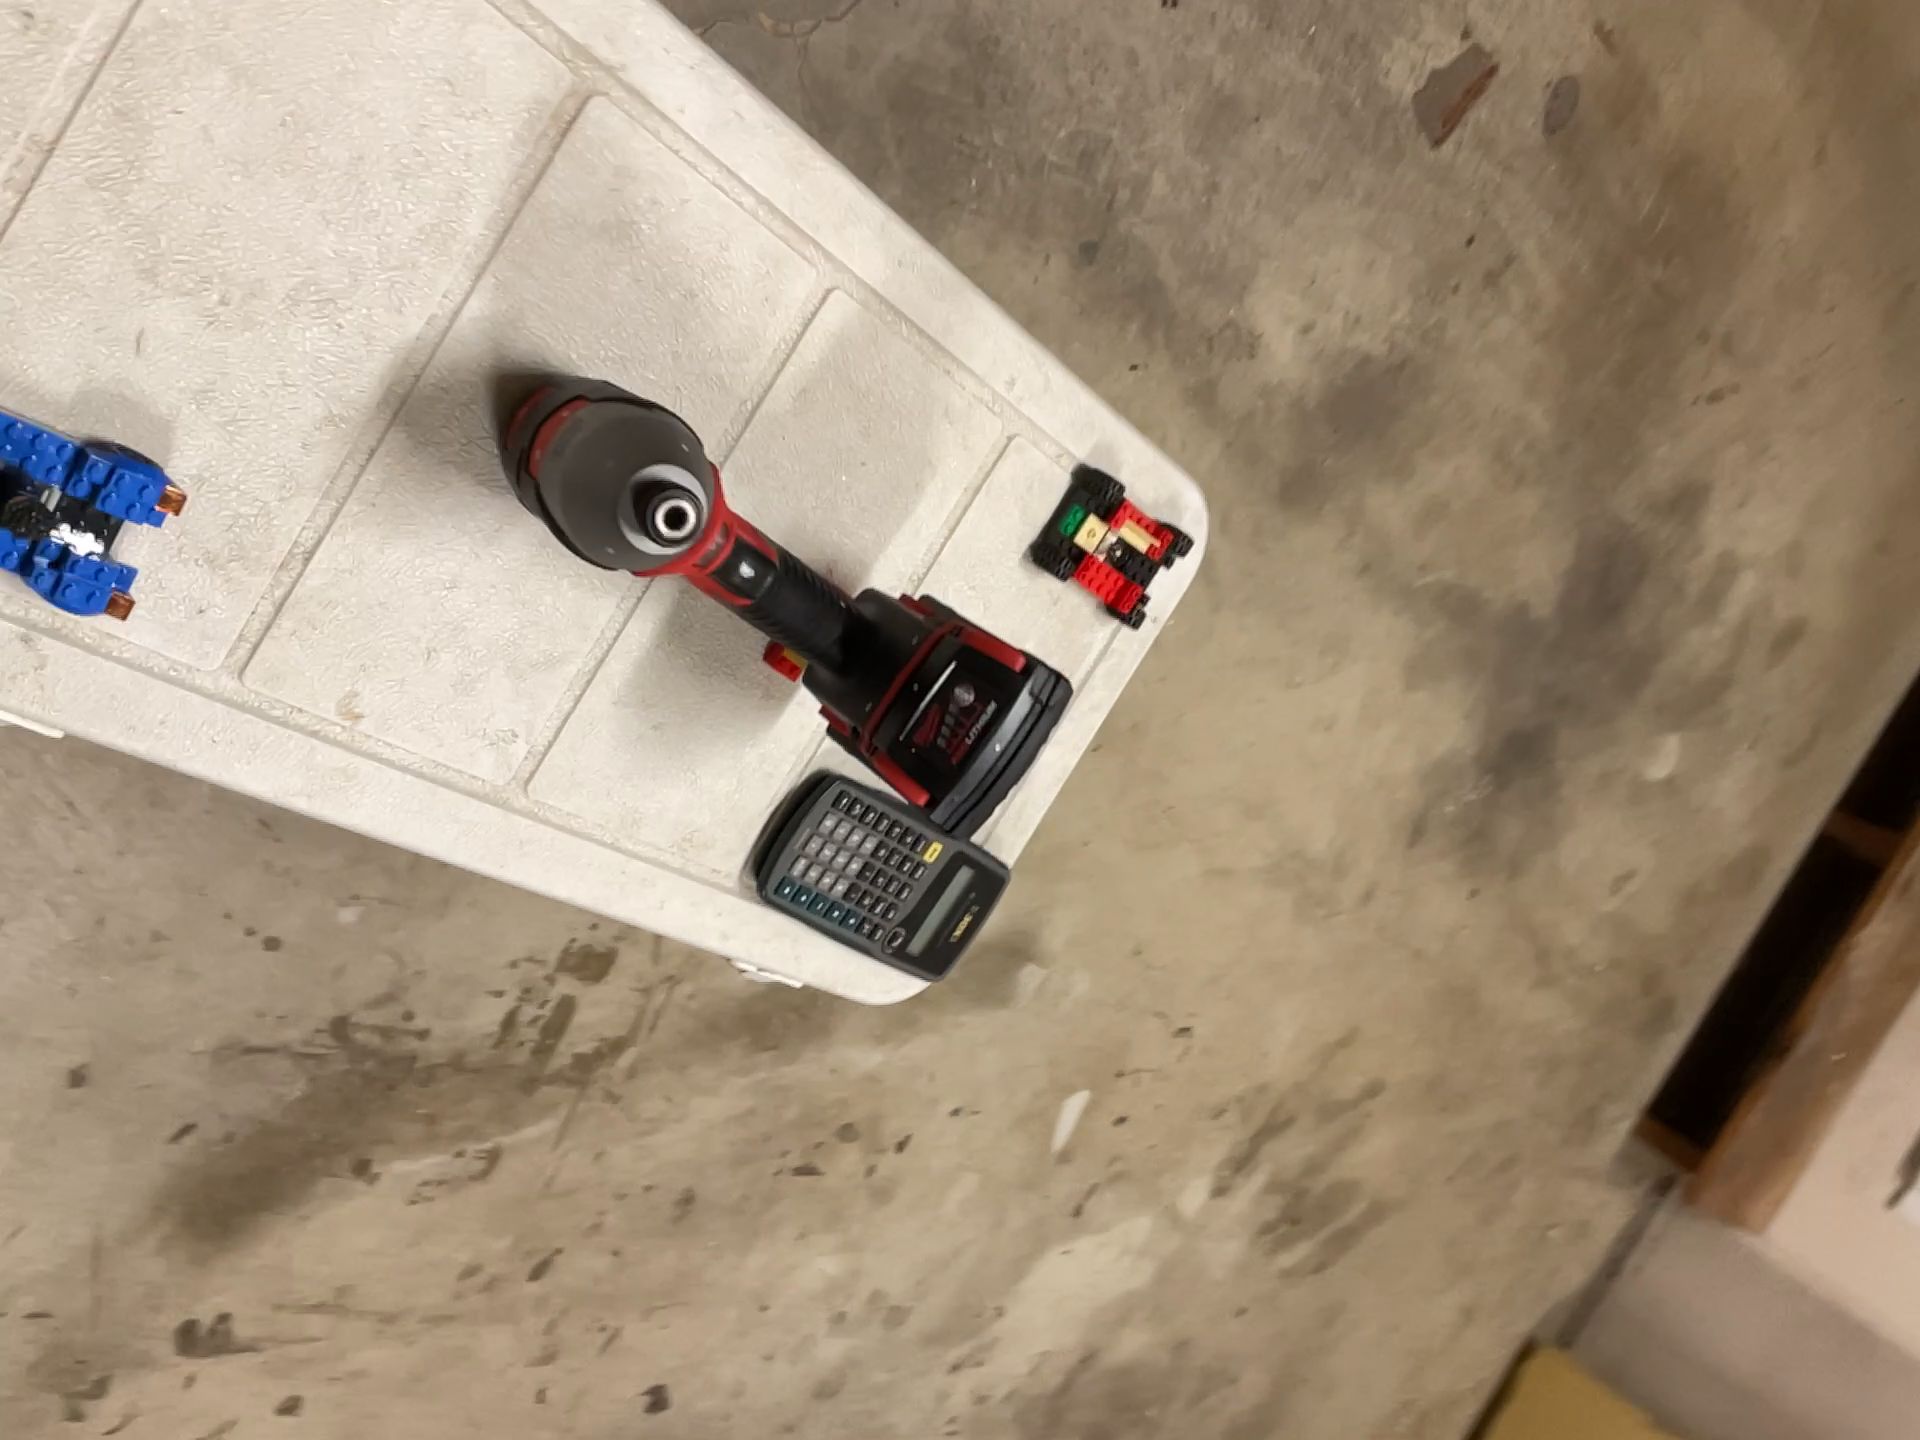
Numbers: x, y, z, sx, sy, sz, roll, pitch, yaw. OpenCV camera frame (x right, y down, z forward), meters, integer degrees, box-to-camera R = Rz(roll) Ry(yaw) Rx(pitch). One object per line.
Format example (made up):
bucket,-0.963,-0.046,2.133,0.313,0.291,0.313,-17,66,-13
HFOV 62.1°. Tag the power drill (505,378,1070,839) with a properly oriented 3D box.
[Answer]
power drill,-0.069,-0.047,0.619,0.219,0.143,0.078,36,89,-32
